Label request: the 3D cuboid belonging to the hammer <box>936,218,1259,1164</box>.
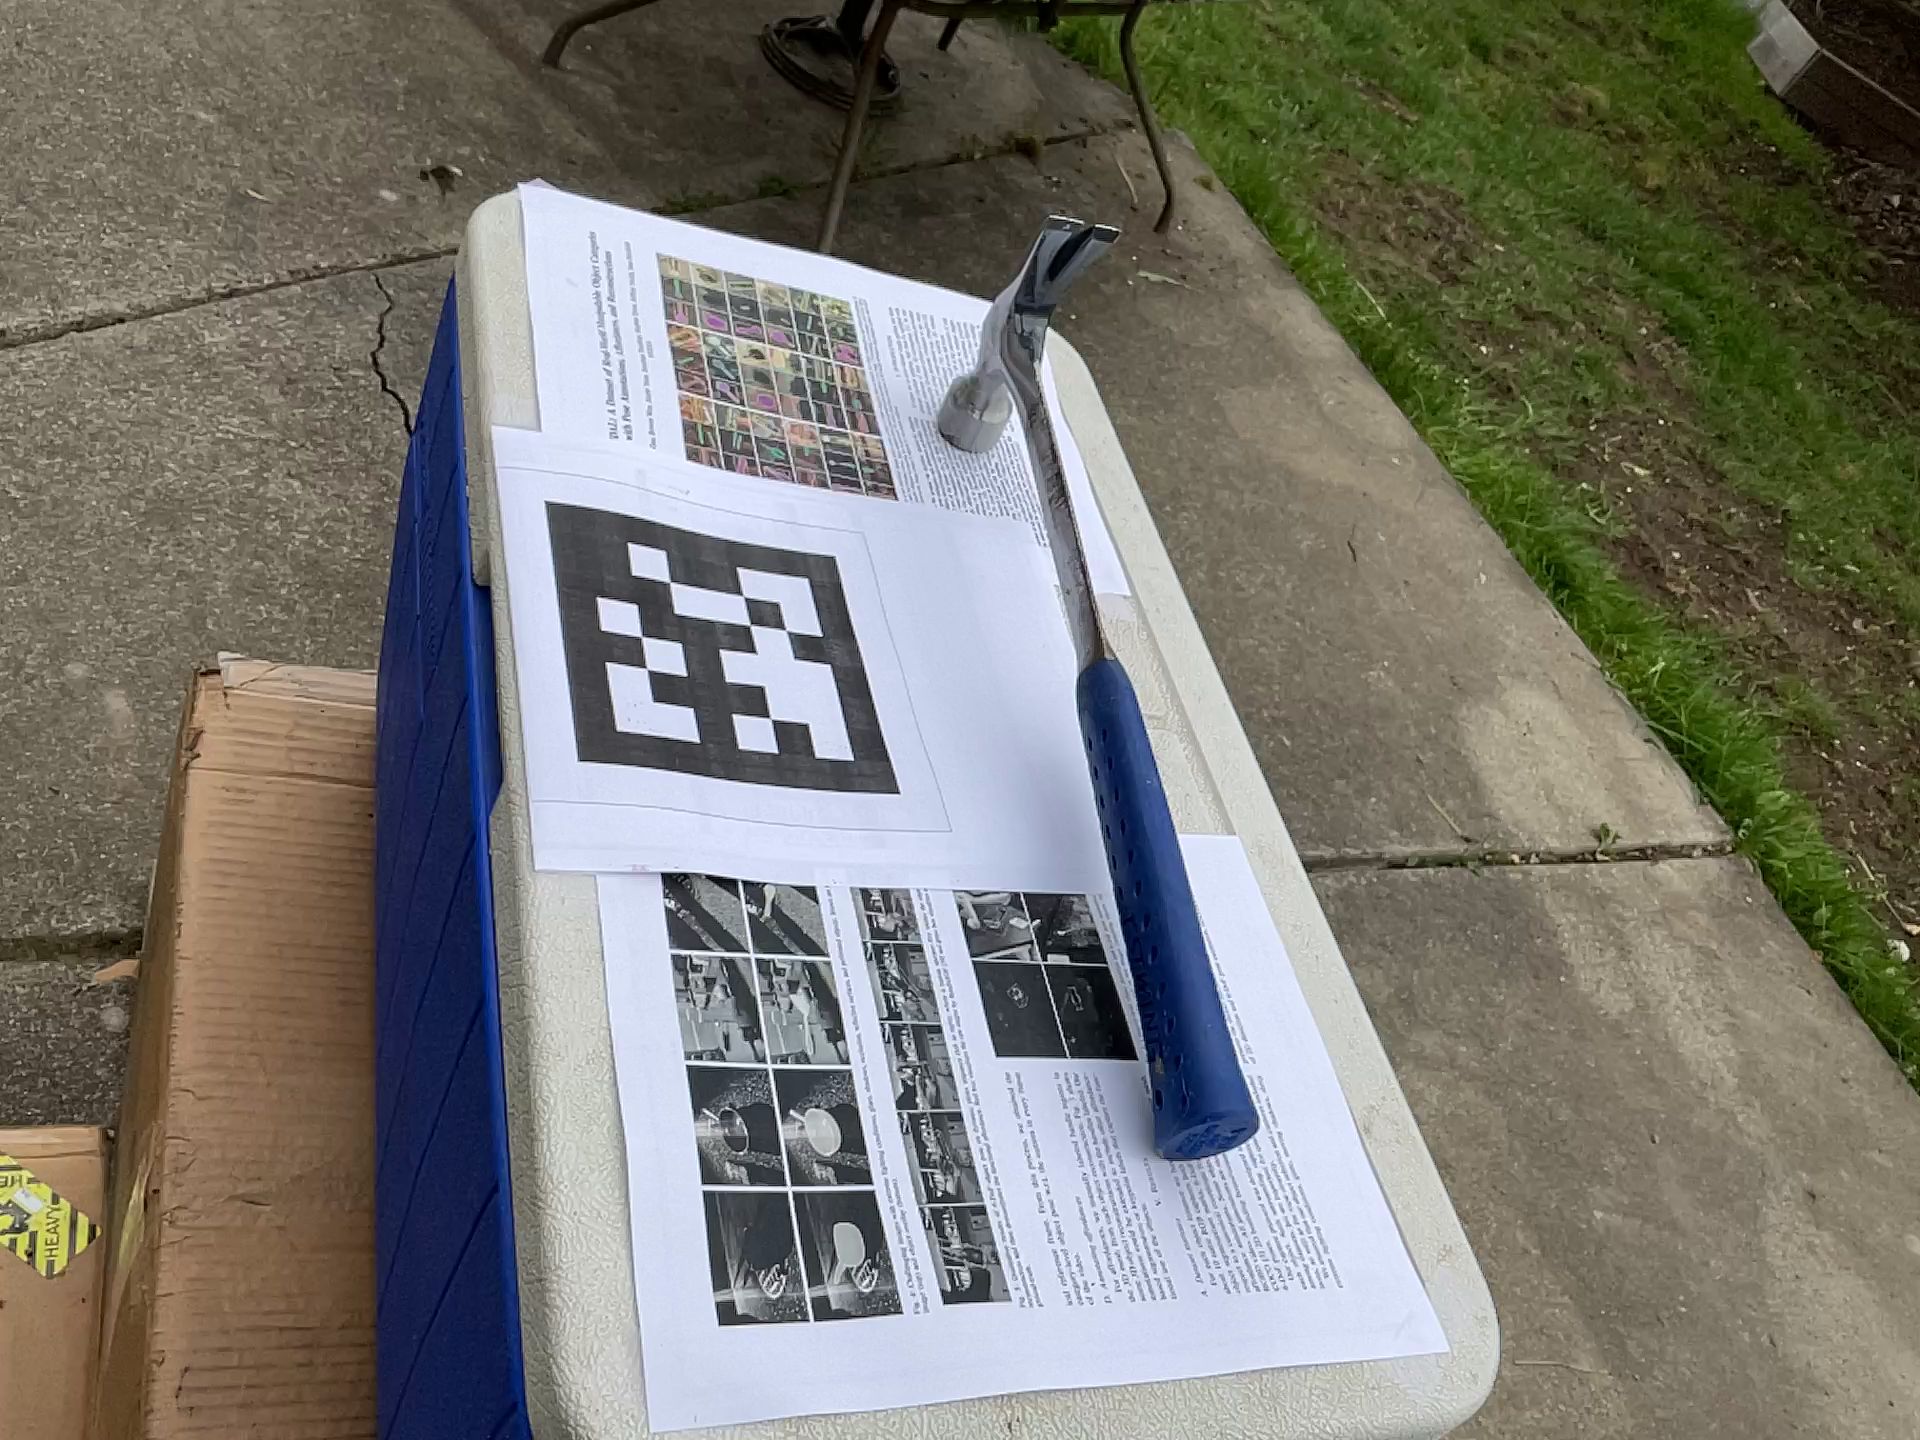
[{"bbox_3d":[0.055,-0.029,0.643,0.035,0.144,0.405,4,55,-21],"label":"hammer"}]
